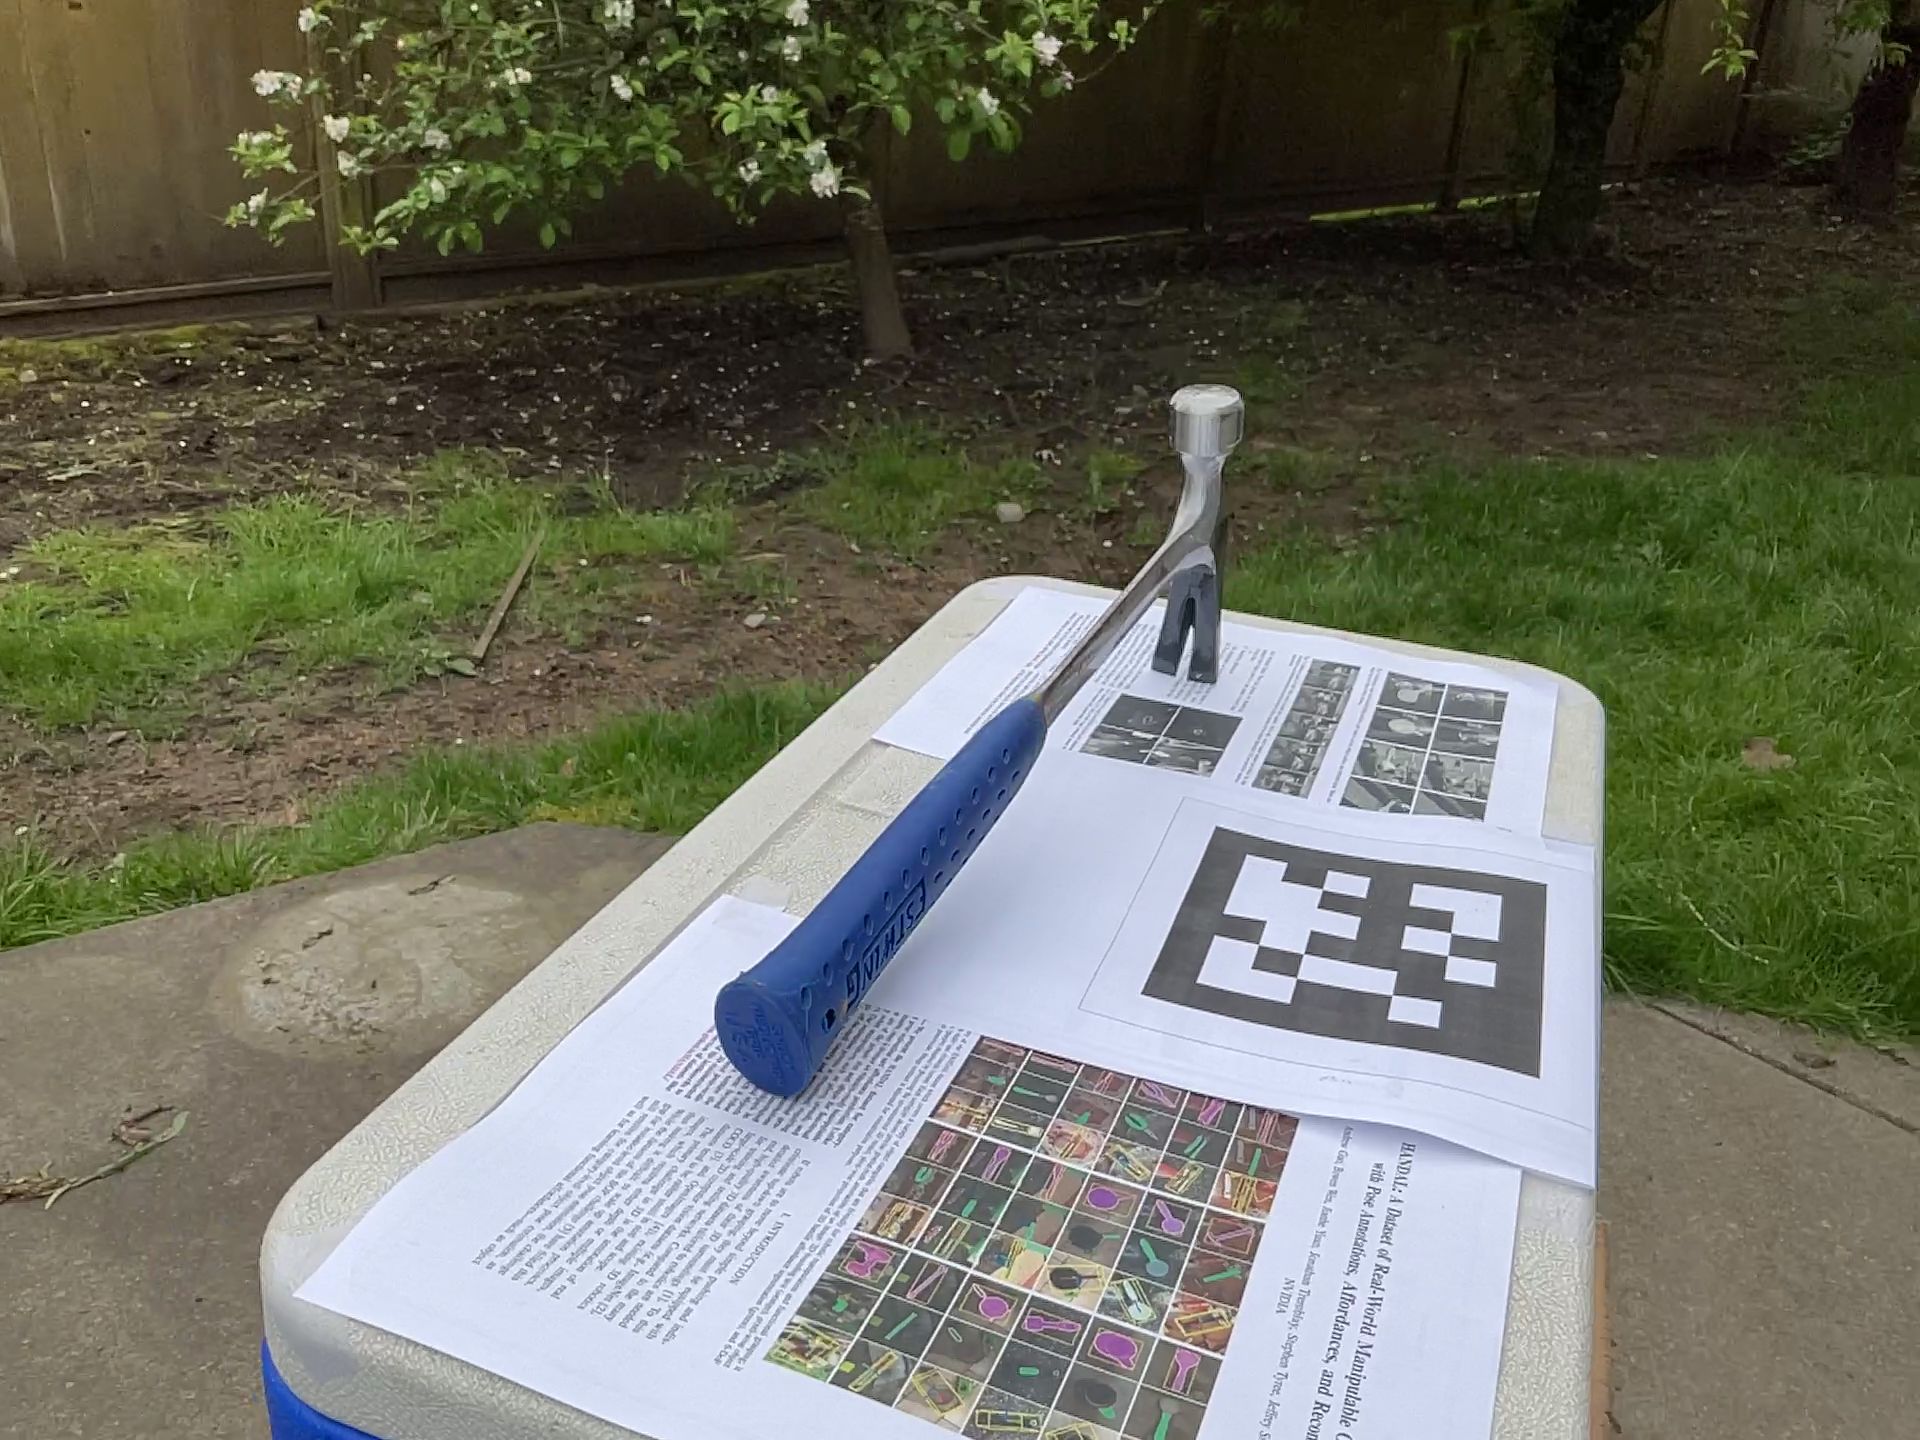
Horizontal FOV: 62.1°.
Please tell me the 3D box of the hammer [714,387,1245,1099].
[{"bbox_3d":[0.032,0.004,0.629,0.035,0.144,0.405,13,35,23],"label":"hammer"}]
